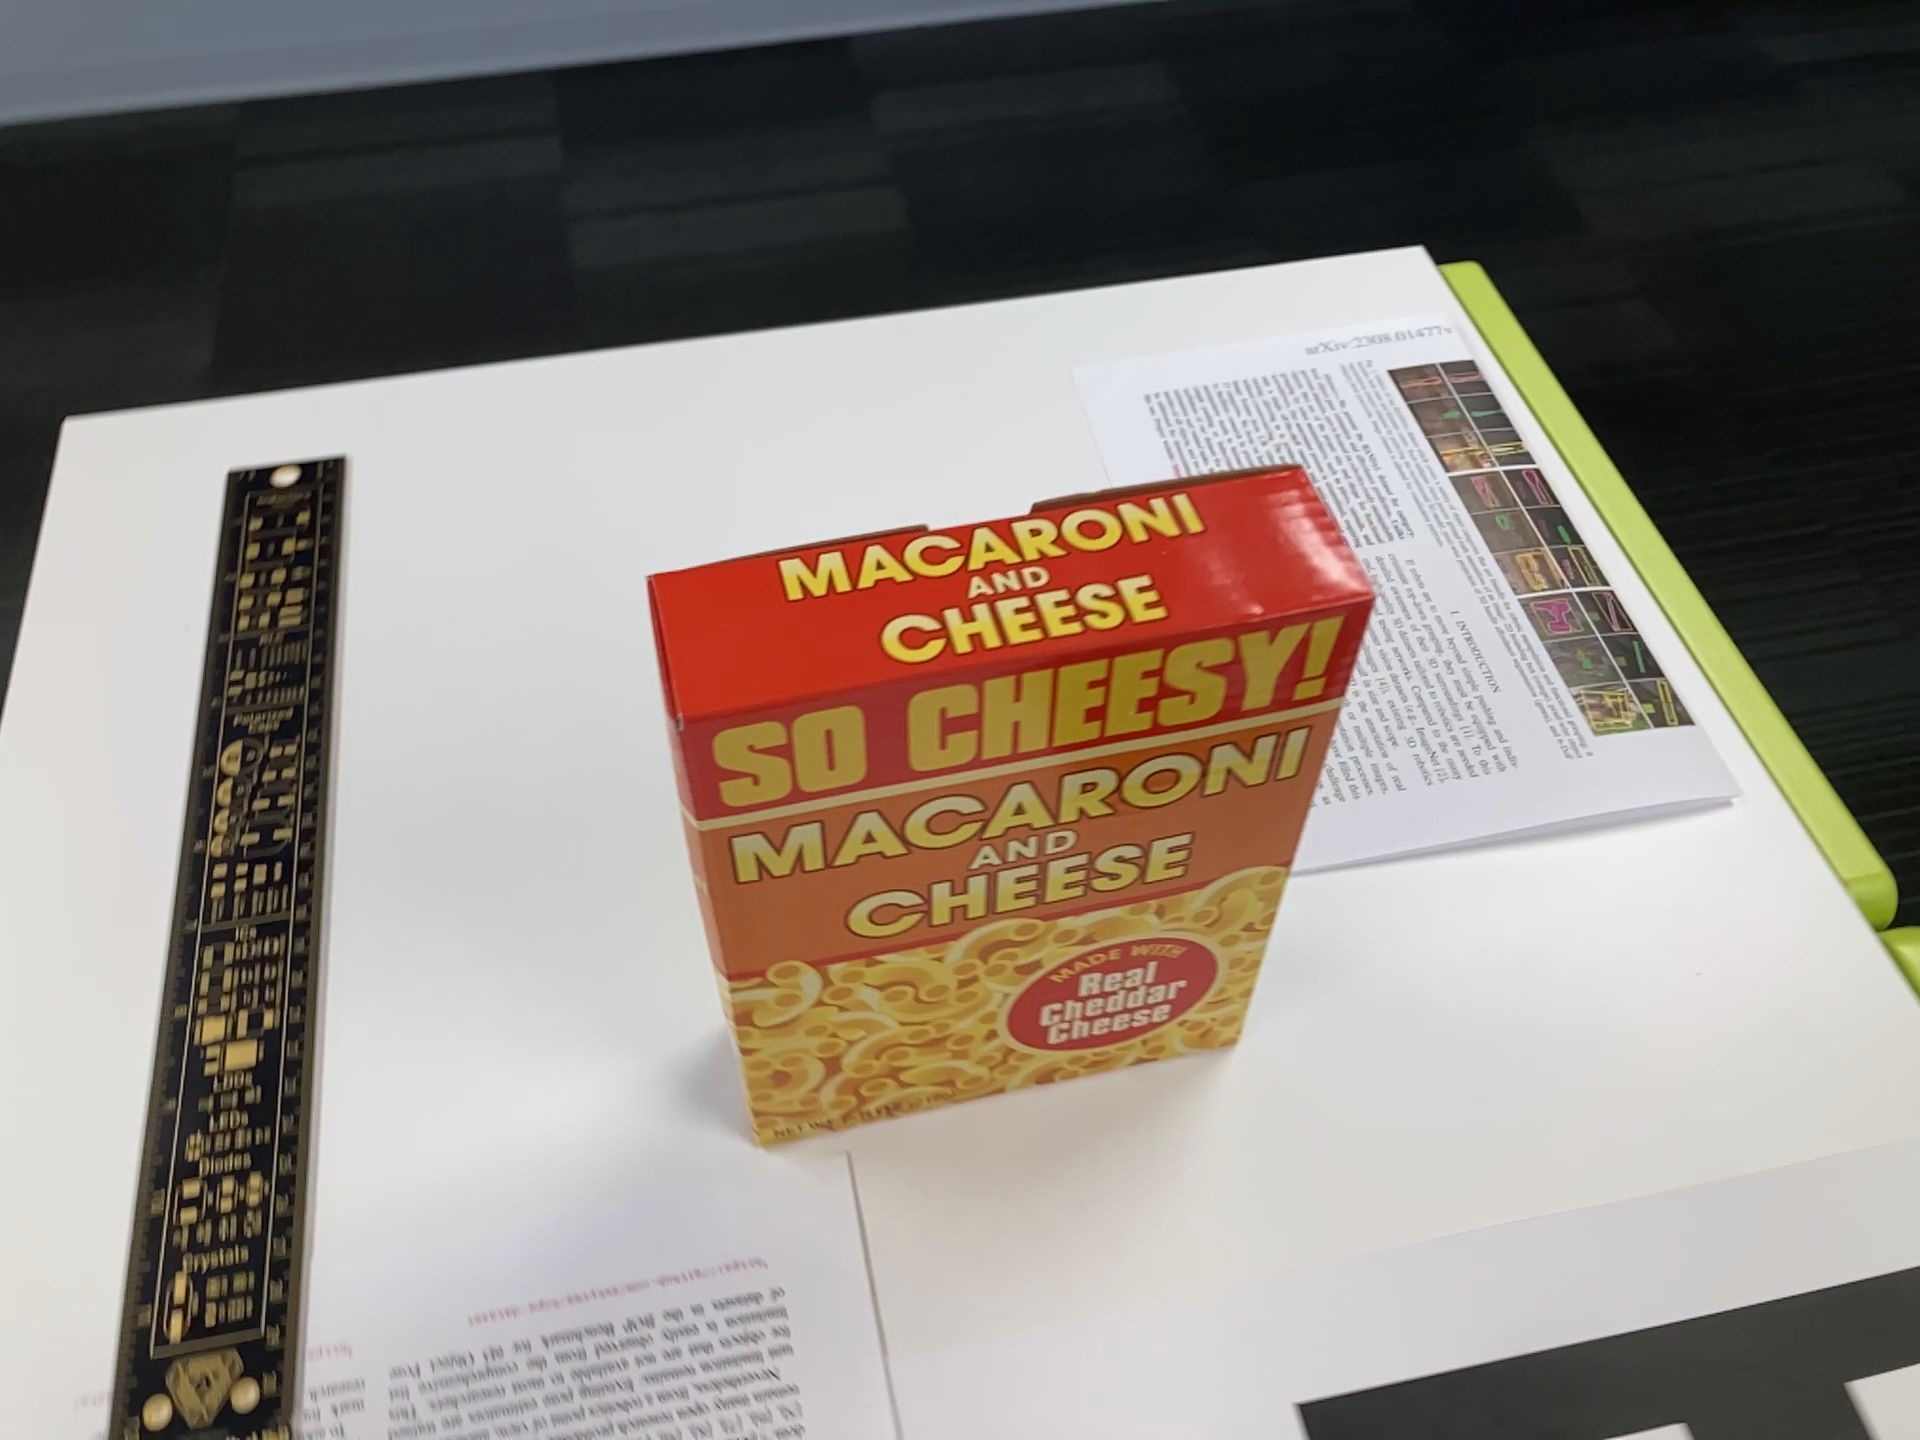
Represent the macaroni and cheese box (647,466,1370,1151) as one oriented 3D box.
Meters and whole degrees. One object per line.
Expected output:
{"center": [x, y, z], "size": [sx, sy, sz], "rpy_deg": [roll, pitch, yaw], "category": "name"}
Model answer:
{"center": [0.007, 0.027, 0.339], "size": [0.124, 0.166, 0.040], "rpy_deg": [-11, 52, -9], "category": "macaroni and cheese box"}
